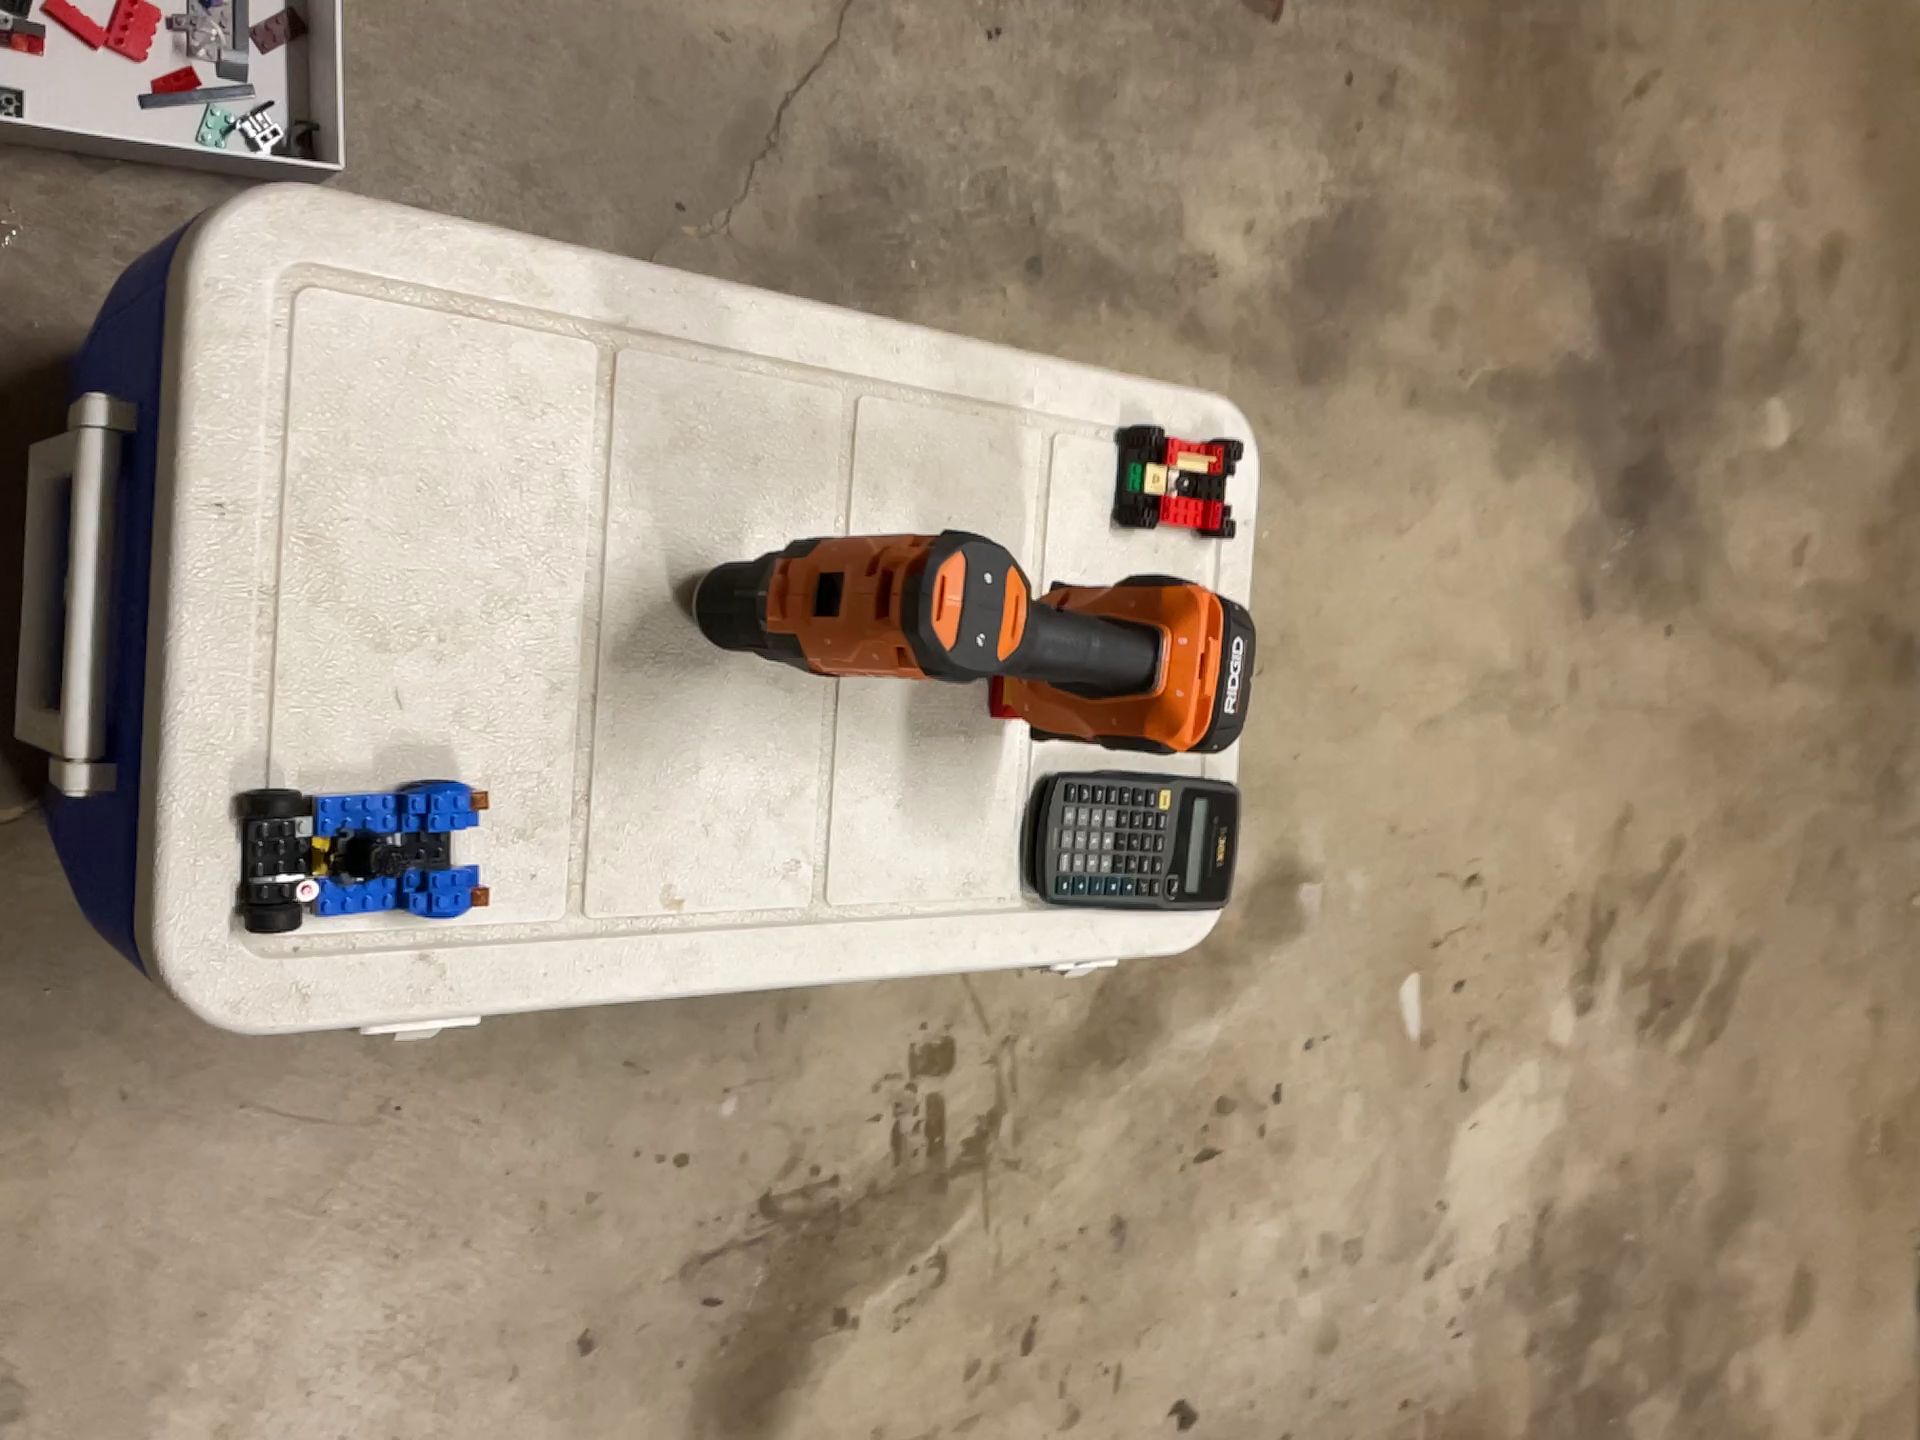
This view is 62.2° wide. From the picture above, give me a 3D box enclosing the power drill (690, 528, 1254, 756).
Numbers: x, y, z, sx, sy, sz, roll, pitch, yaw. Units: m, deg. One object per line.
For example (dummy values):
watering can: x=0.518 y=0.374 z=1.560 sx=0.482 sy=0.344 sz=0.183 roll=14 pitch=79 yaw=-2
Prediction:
power drill: x=0.003 y=-0.038 z=0.736 sx=0.226 sy=0.185 sz=0.084 roll=10 pitch=86 yaw=-44
